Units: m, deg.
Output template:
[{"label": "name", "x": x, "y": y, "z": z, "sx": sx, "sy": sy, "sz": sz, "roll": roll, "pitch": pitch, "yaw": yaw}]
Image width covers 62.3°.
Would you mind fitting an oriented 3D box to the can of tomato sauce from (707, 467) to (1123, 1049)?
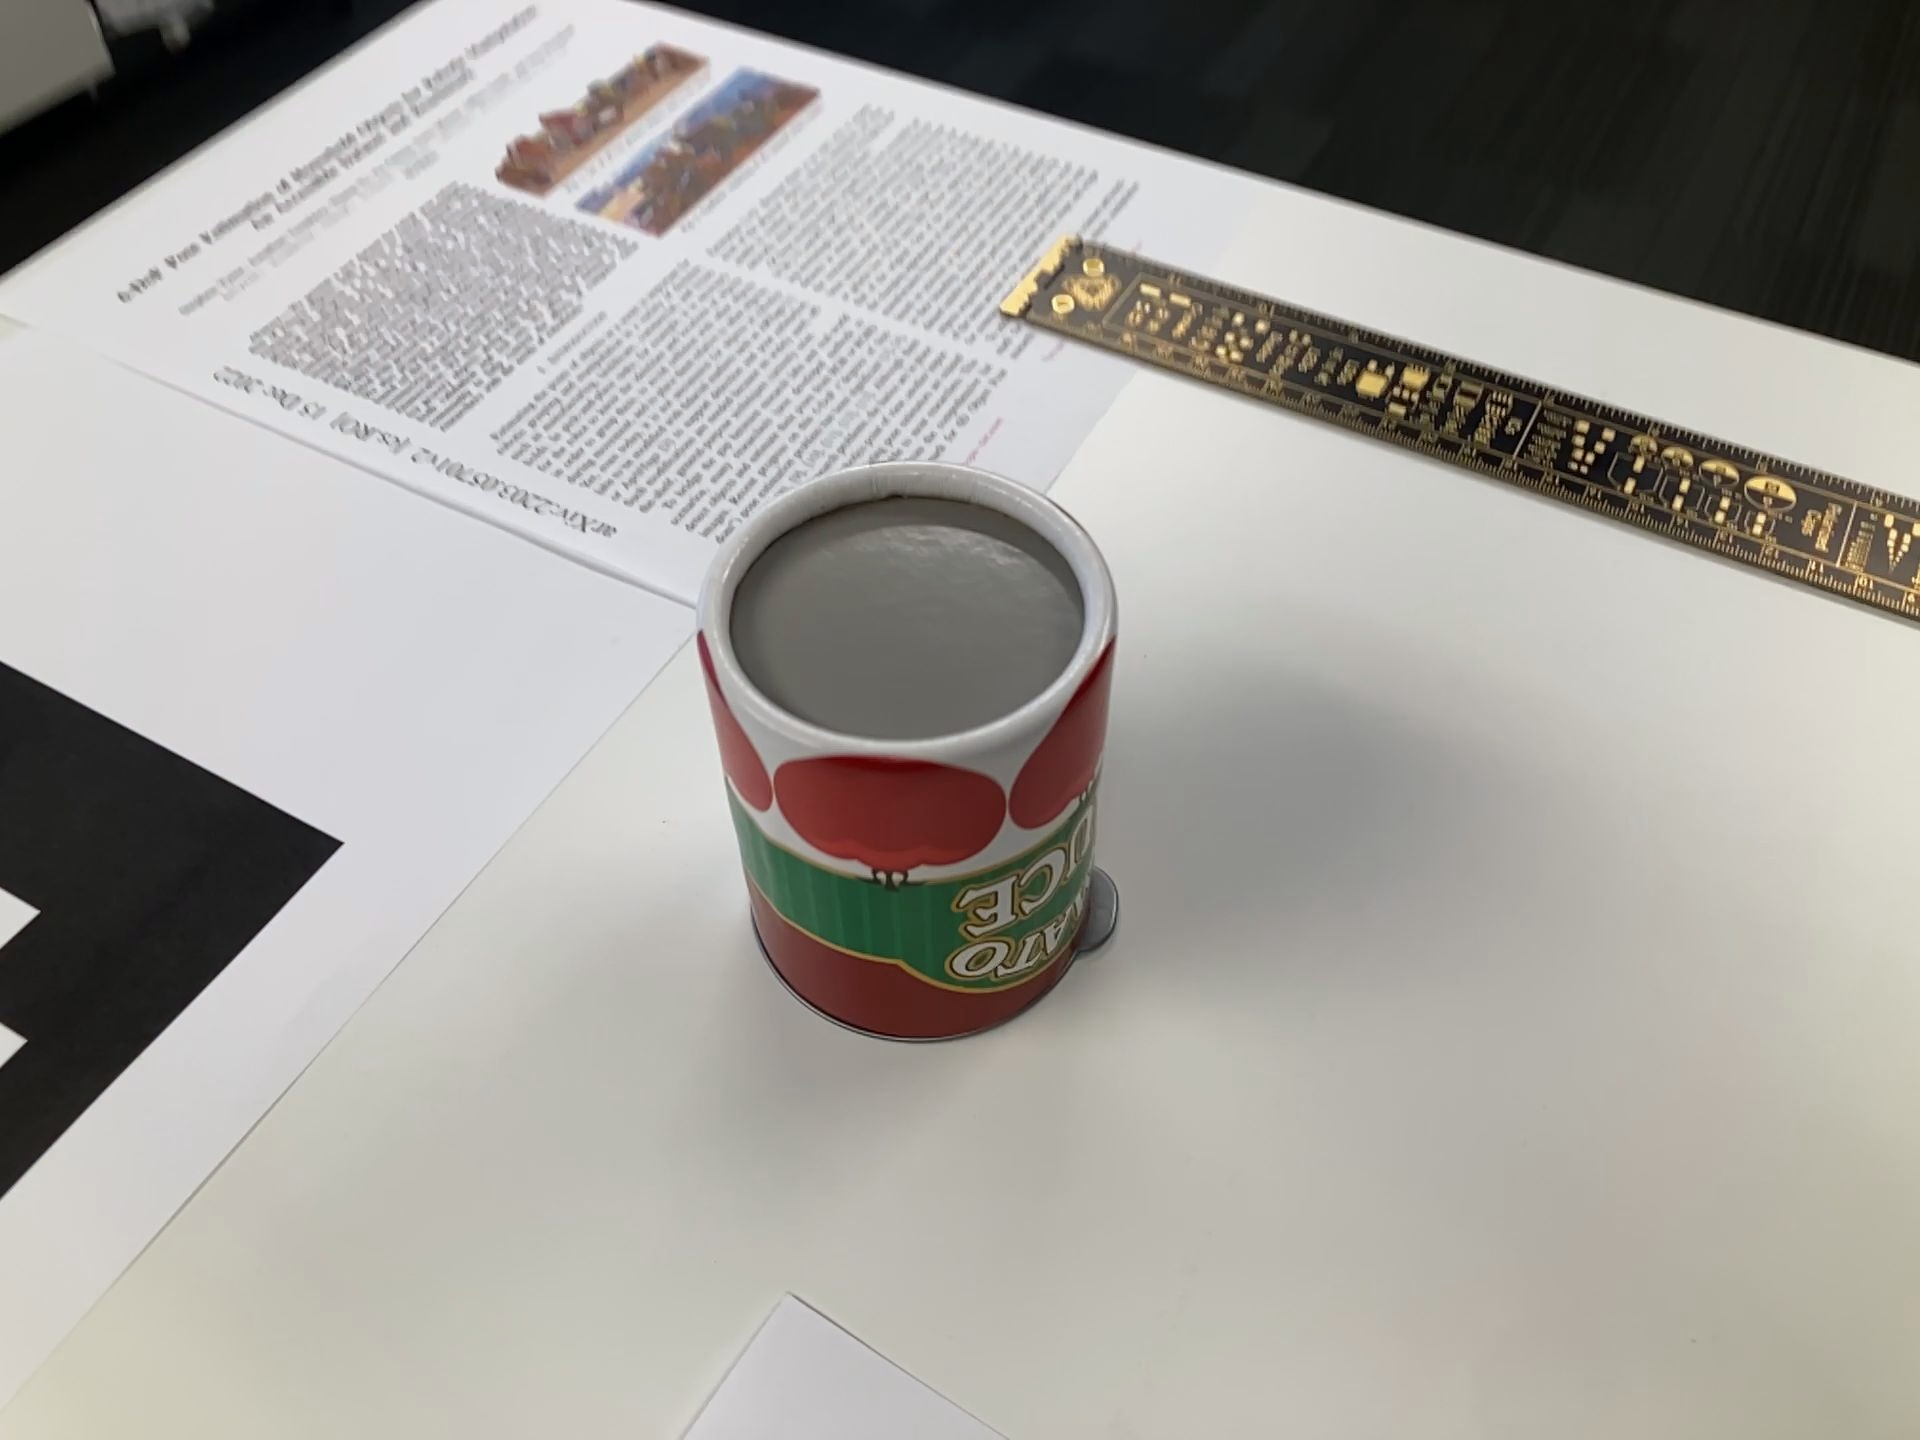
[{"label": "can of tomato sauce", "x": -0.006, "y": 0.009, "z": 0.278, "sx": 0.071, "sy": 0.083, "sz": 0.071, "roll": 1, "pitch": 49, "yaw": -1}]
